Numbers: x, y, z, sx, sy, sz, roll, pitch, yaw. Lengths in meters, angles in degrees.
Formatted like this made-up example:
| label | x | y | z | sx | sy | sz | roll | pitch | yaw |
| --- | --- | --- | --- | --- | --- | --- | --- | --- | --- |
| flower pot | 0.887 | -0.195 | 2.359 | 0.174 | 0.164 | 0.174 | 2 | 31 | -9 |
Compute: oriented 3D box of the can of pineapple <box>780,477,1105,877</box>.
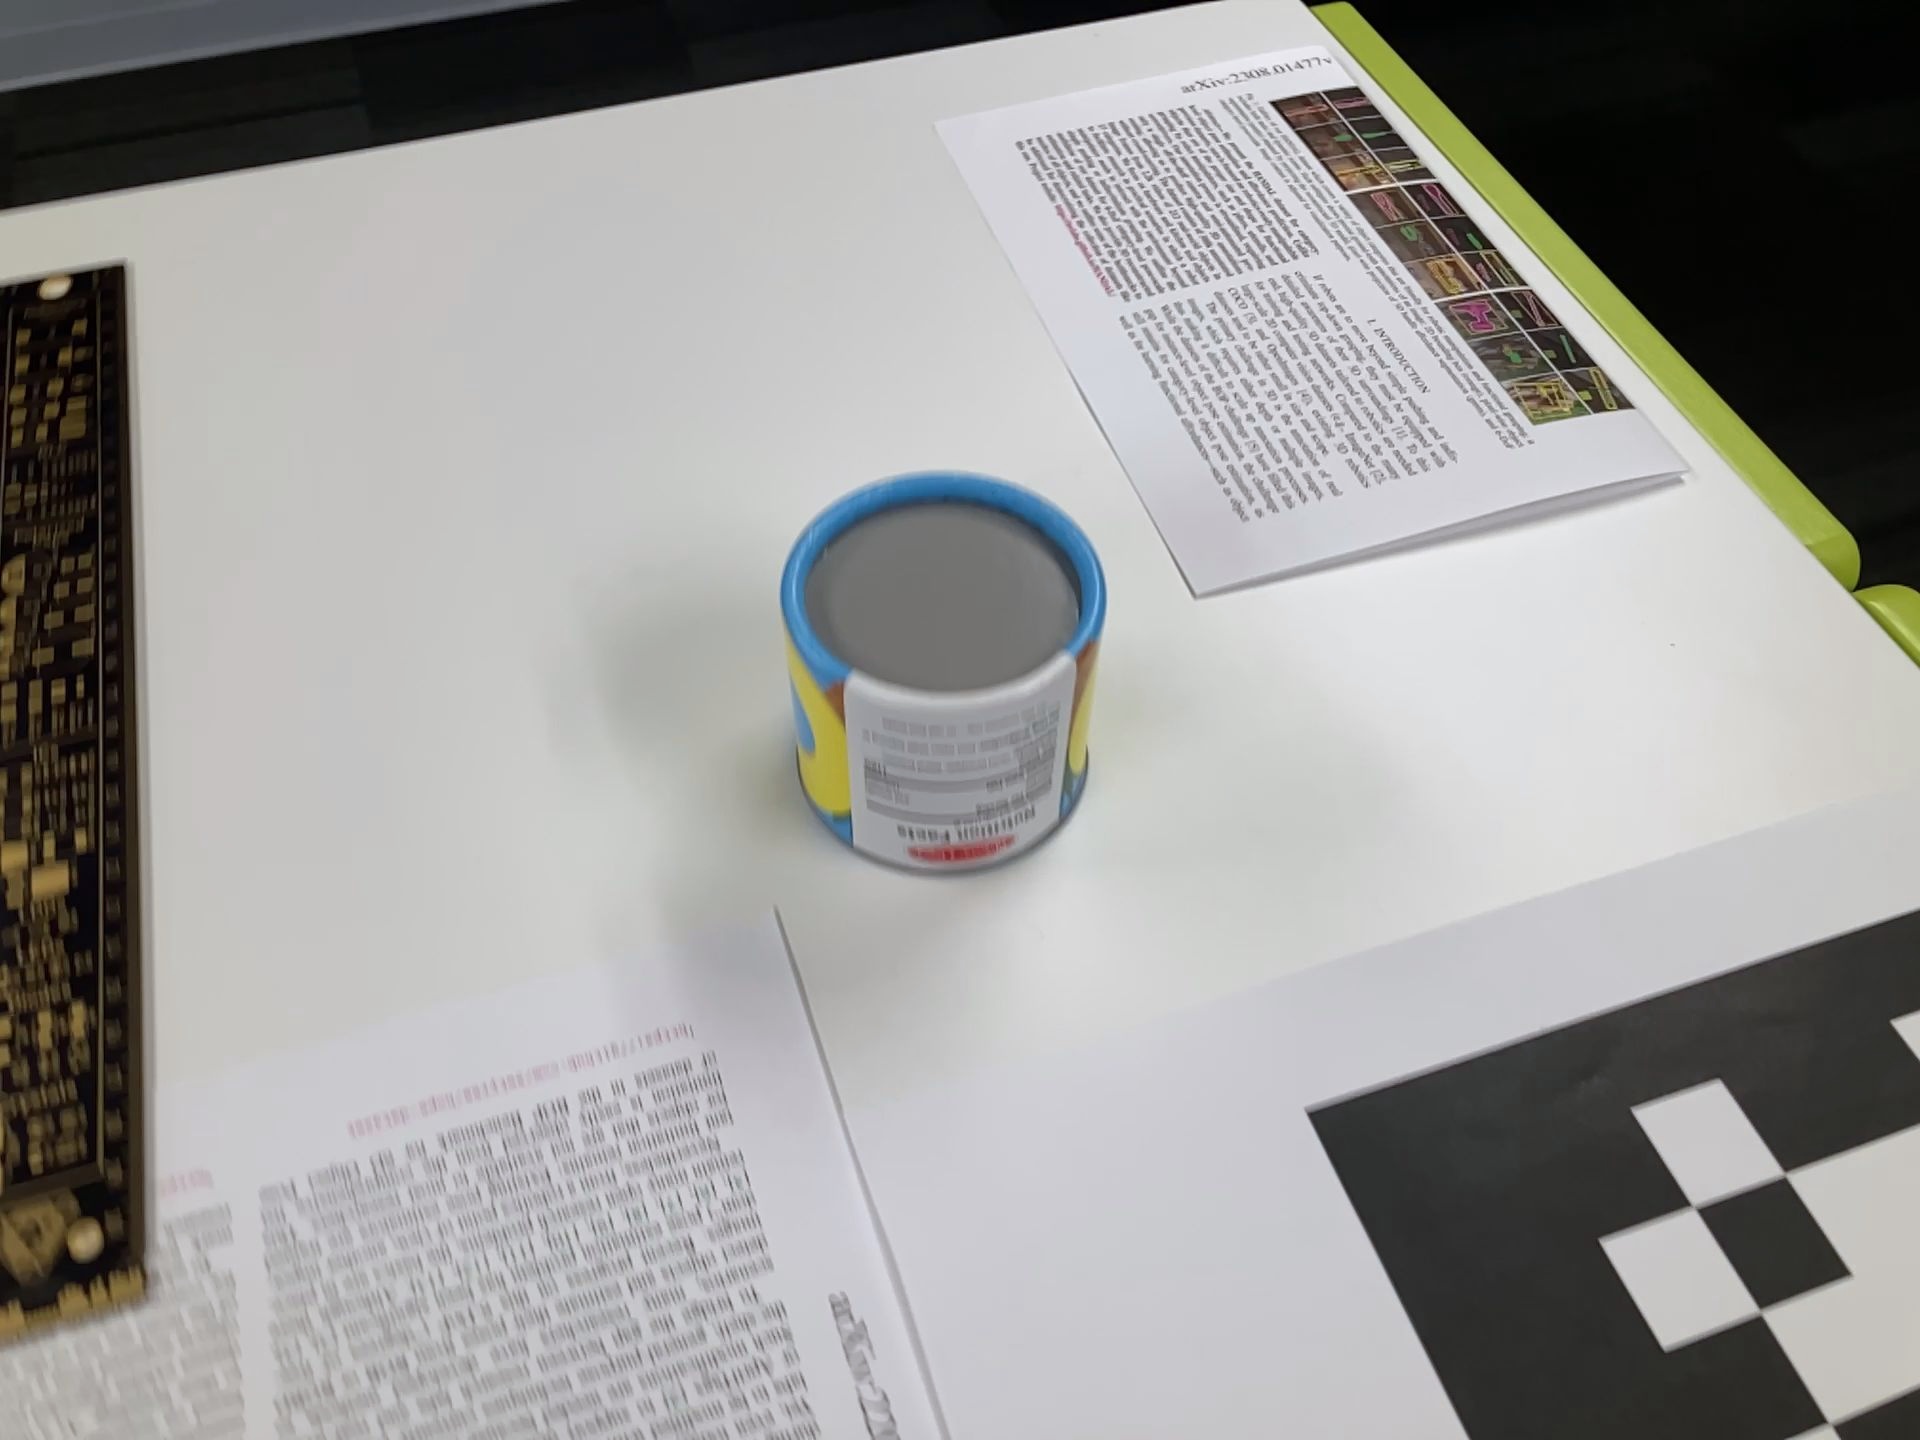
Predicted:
| label | x | y | z | sx | sy | sz | roll | pitch | yaw |
| --- | --- | --- | --- | --- | --- | --- | --- | --- | --- |
| can of pineapple | -0.004 | -0.011 | 0.340 | 0.071 | 0.058 | 0.071 | 0 | 52 | -1 |
